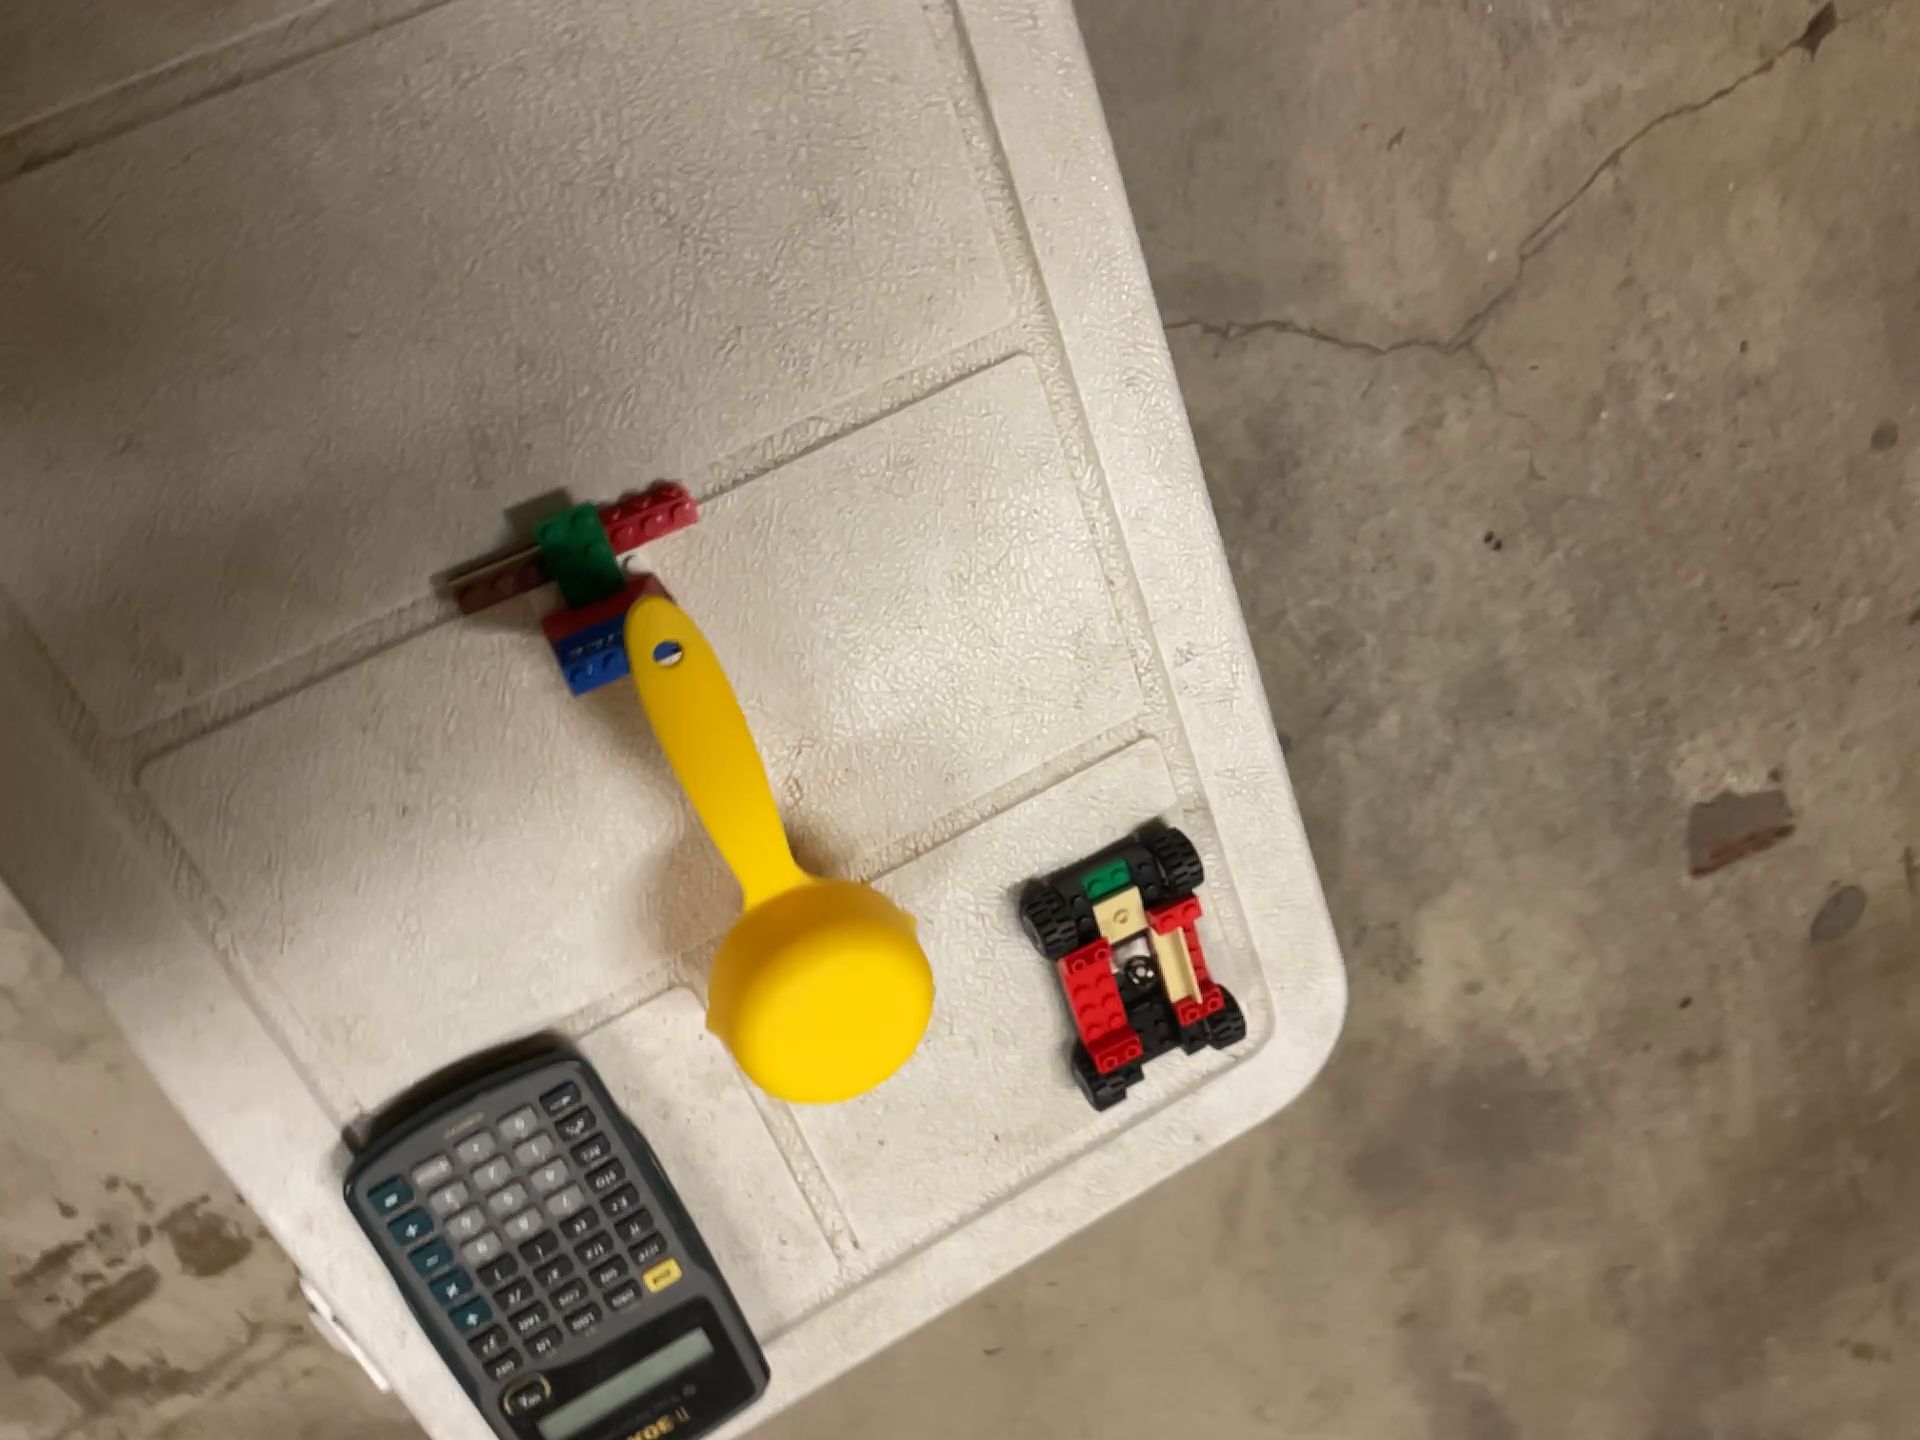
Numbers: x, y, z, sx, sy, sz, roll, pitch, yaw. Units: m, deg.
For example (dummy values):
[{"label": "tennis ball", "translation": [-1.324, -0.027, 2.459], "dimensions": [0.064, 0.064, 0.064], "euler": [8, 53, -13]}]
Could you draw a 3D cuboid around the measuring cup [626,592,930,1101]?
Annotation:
[{"label": "measuring cup", "translation": [-0.049, 0.037, 0.409], "dimensions": [0.062, 0.029, 0.156], "euler": [-26, 124, -11]}]
